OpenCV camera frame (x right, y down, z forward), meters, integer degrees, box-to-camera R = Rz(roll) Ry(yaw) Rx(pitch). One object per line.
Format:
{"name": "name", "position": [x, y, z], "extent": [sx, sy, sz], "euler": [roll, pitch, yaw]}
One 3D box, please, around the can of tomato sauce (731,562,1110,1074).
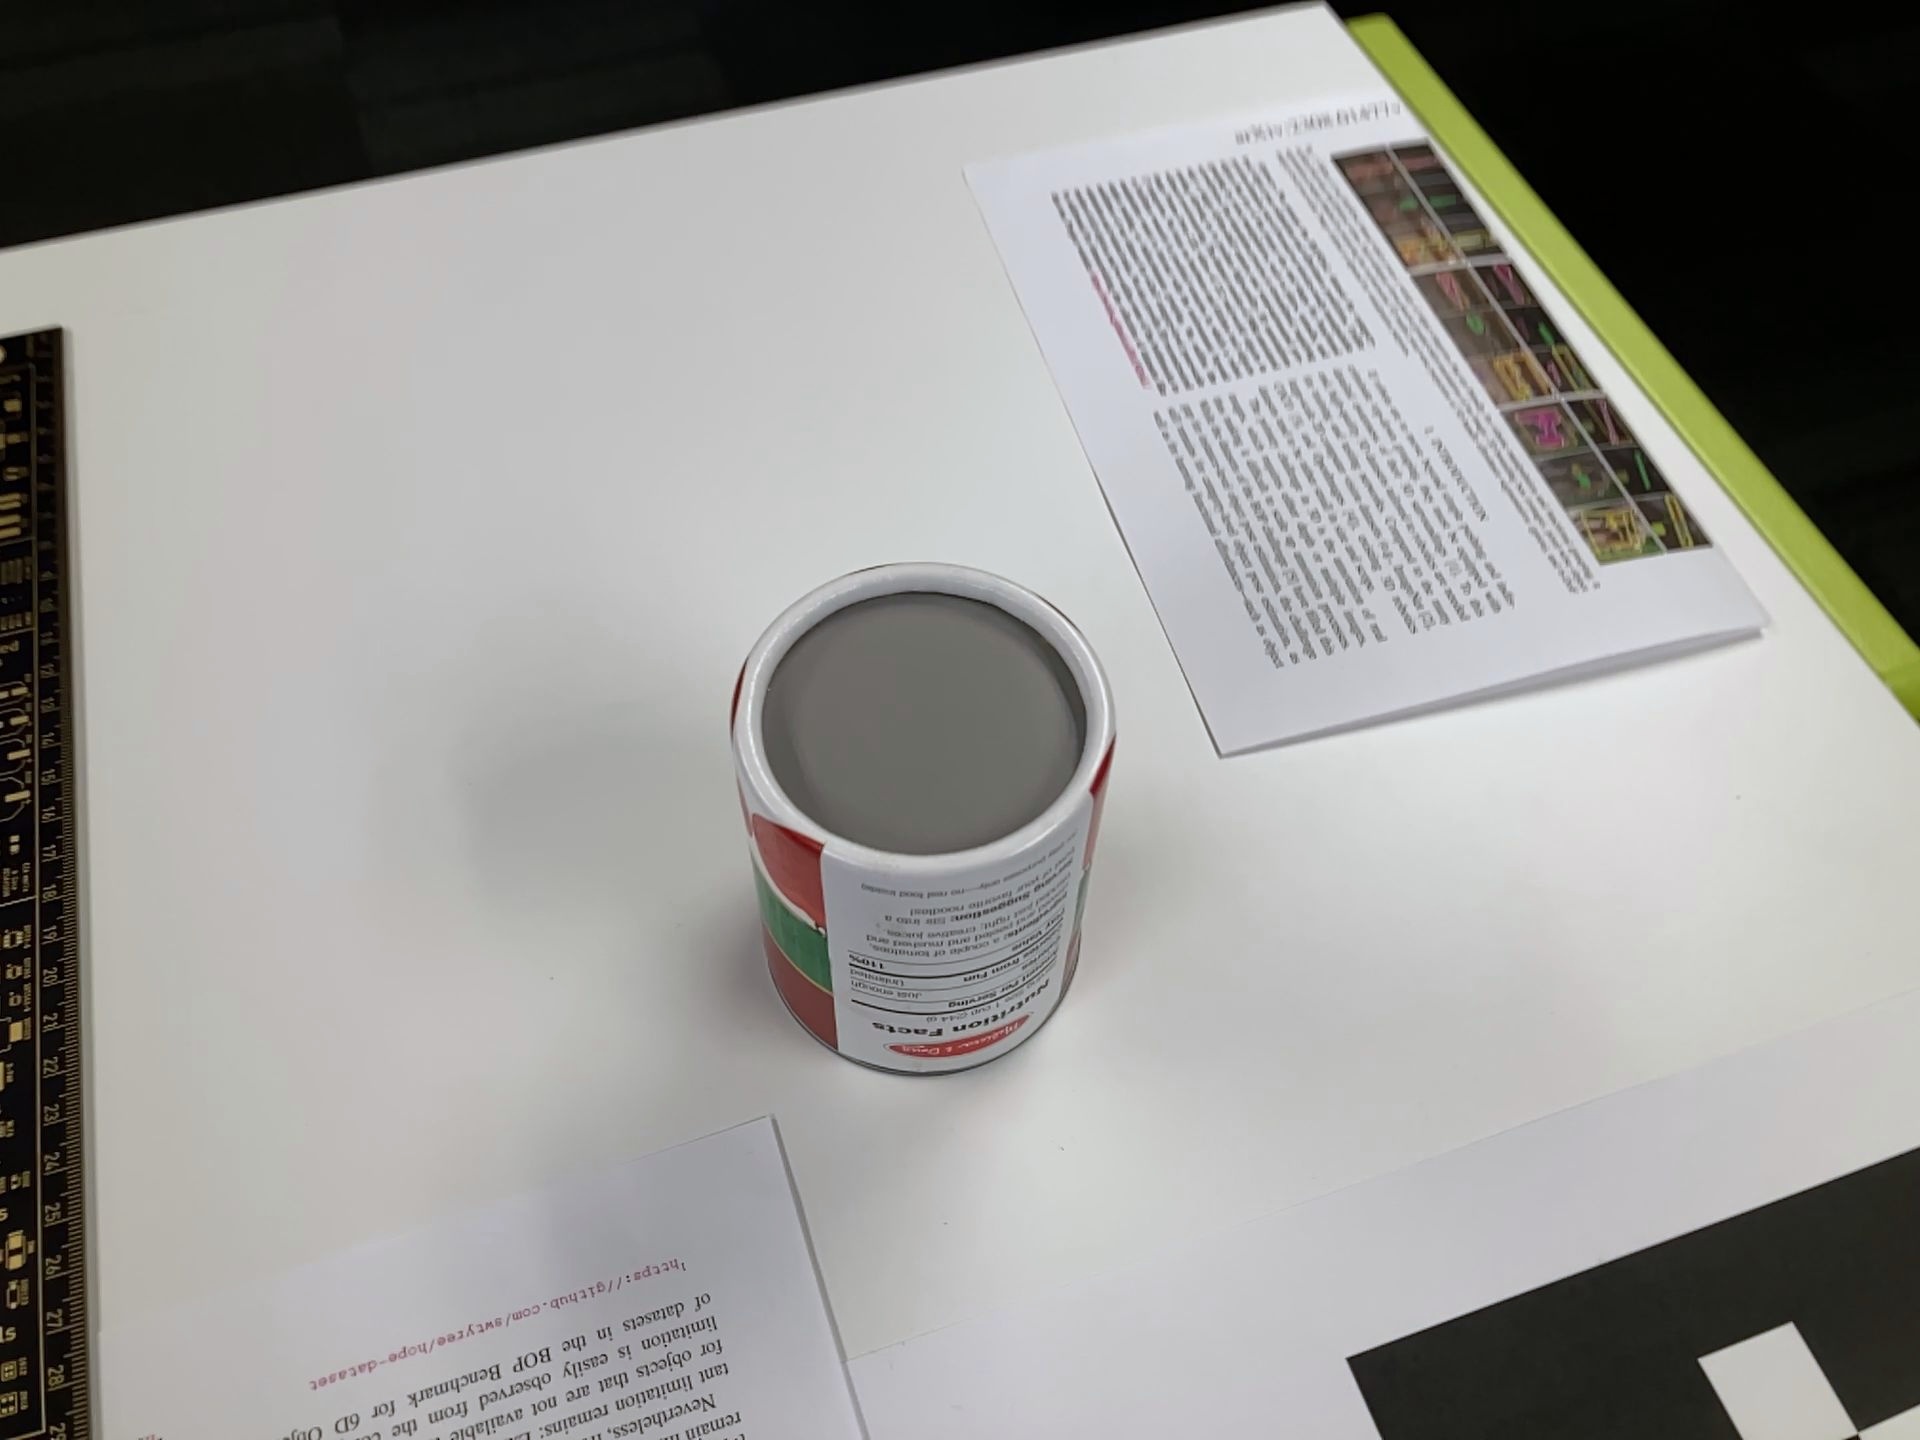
{"name": "can of tomato sauce", "position": [-0.007, 0.019, 0.305], "extent": [0.071, 0.083, 0.071], "euler": [-1, 56, 1]}
